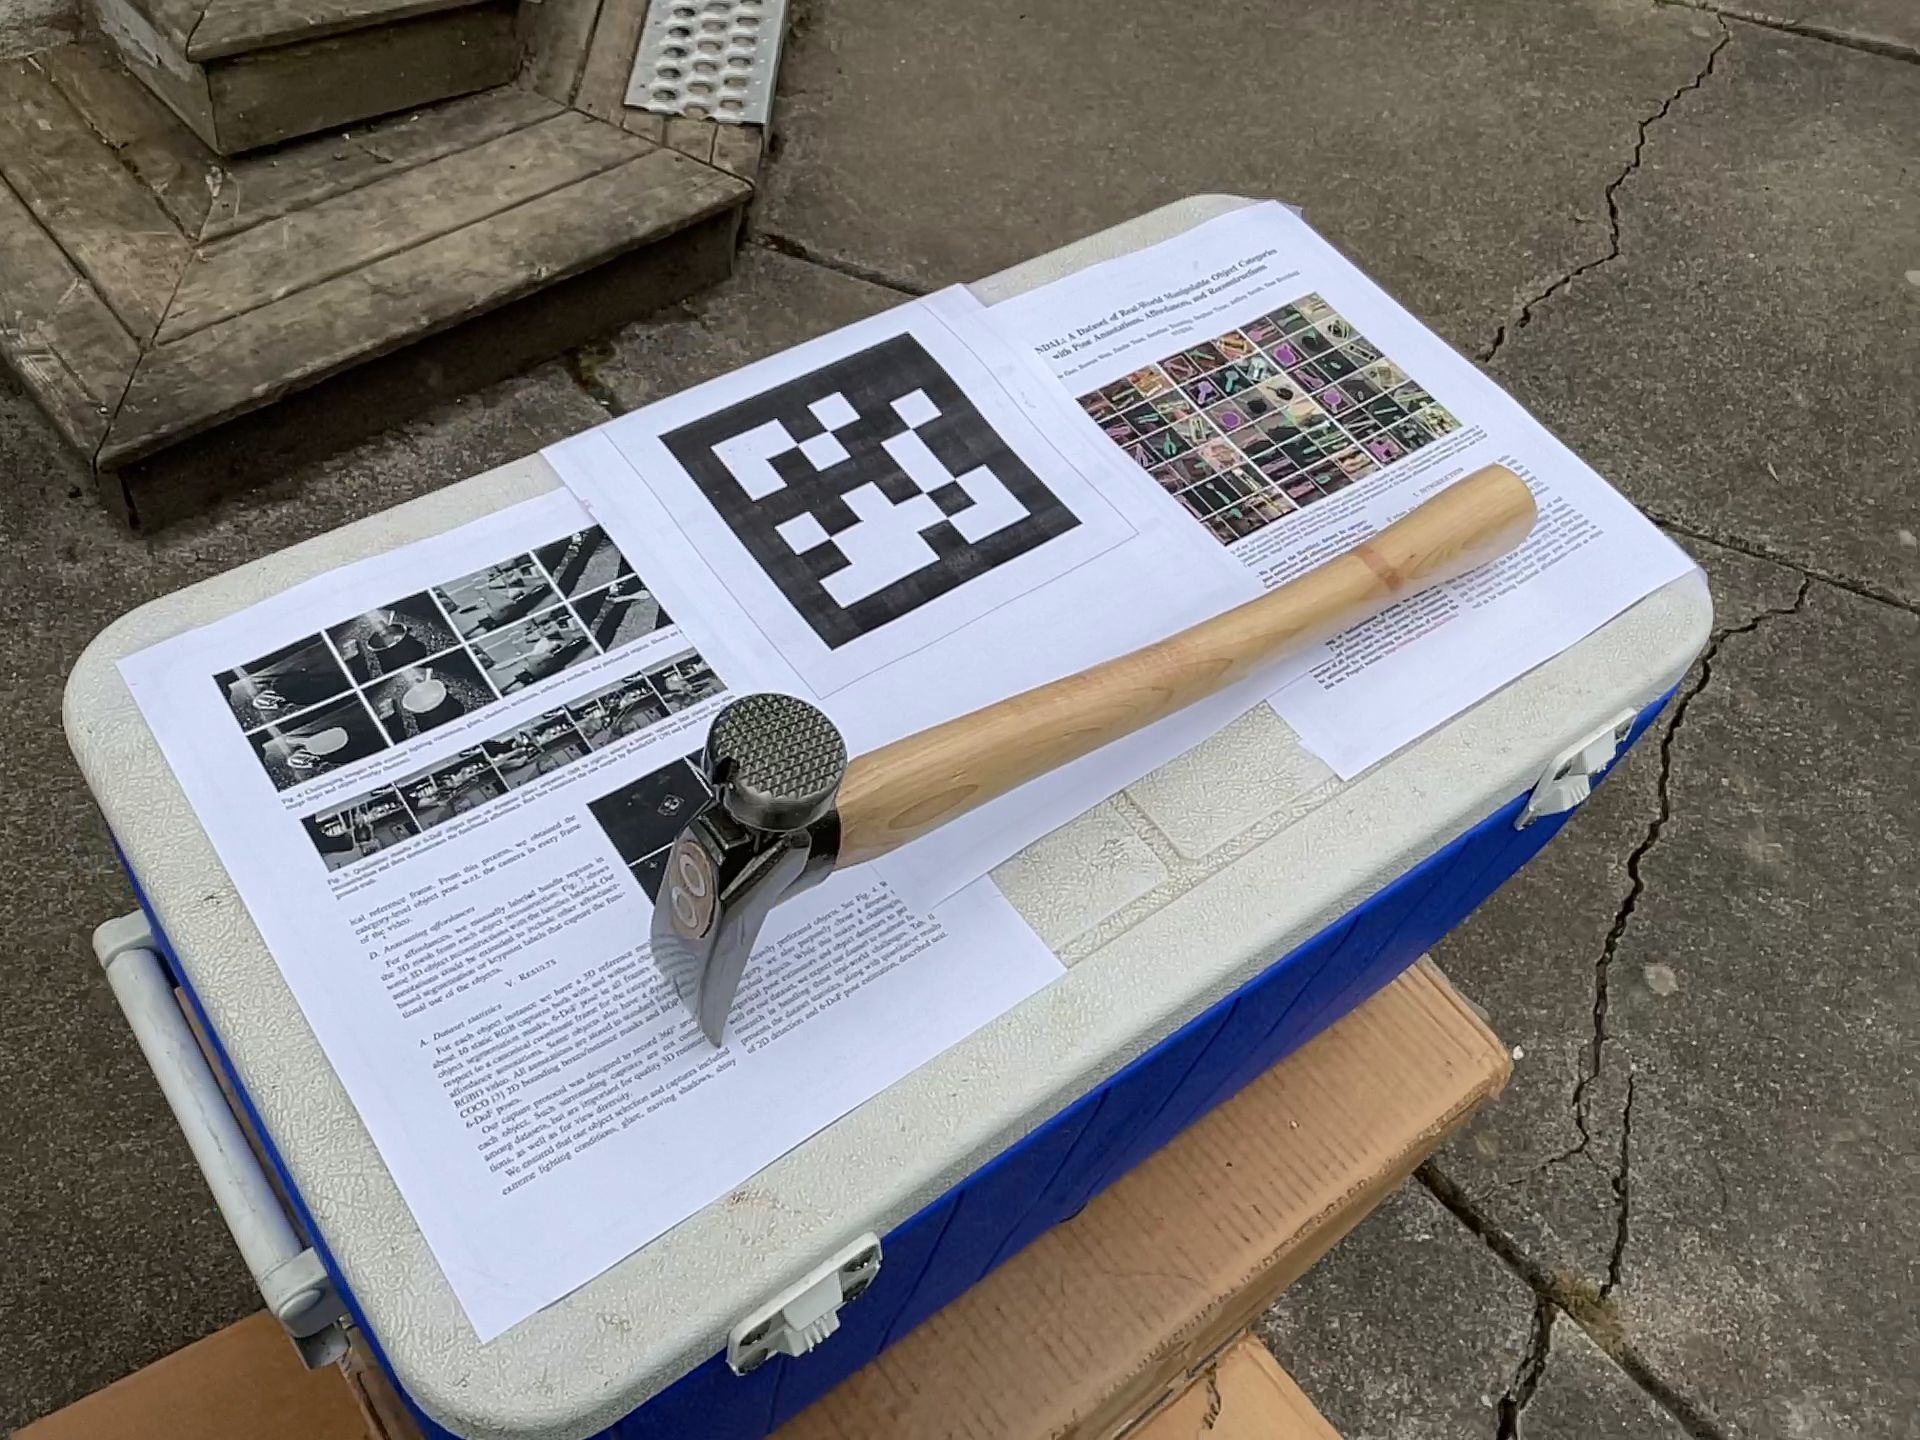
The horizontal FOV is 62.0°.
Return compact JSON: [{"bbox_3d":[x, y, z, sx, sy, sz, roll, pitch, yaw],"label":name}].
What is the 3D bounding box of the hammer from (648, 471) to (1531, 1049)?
[{"bbox_3d":[0.073,-0.010,0.584,0.410,0.146,0.038,-23,62,-34],"label":"hammer"}]
